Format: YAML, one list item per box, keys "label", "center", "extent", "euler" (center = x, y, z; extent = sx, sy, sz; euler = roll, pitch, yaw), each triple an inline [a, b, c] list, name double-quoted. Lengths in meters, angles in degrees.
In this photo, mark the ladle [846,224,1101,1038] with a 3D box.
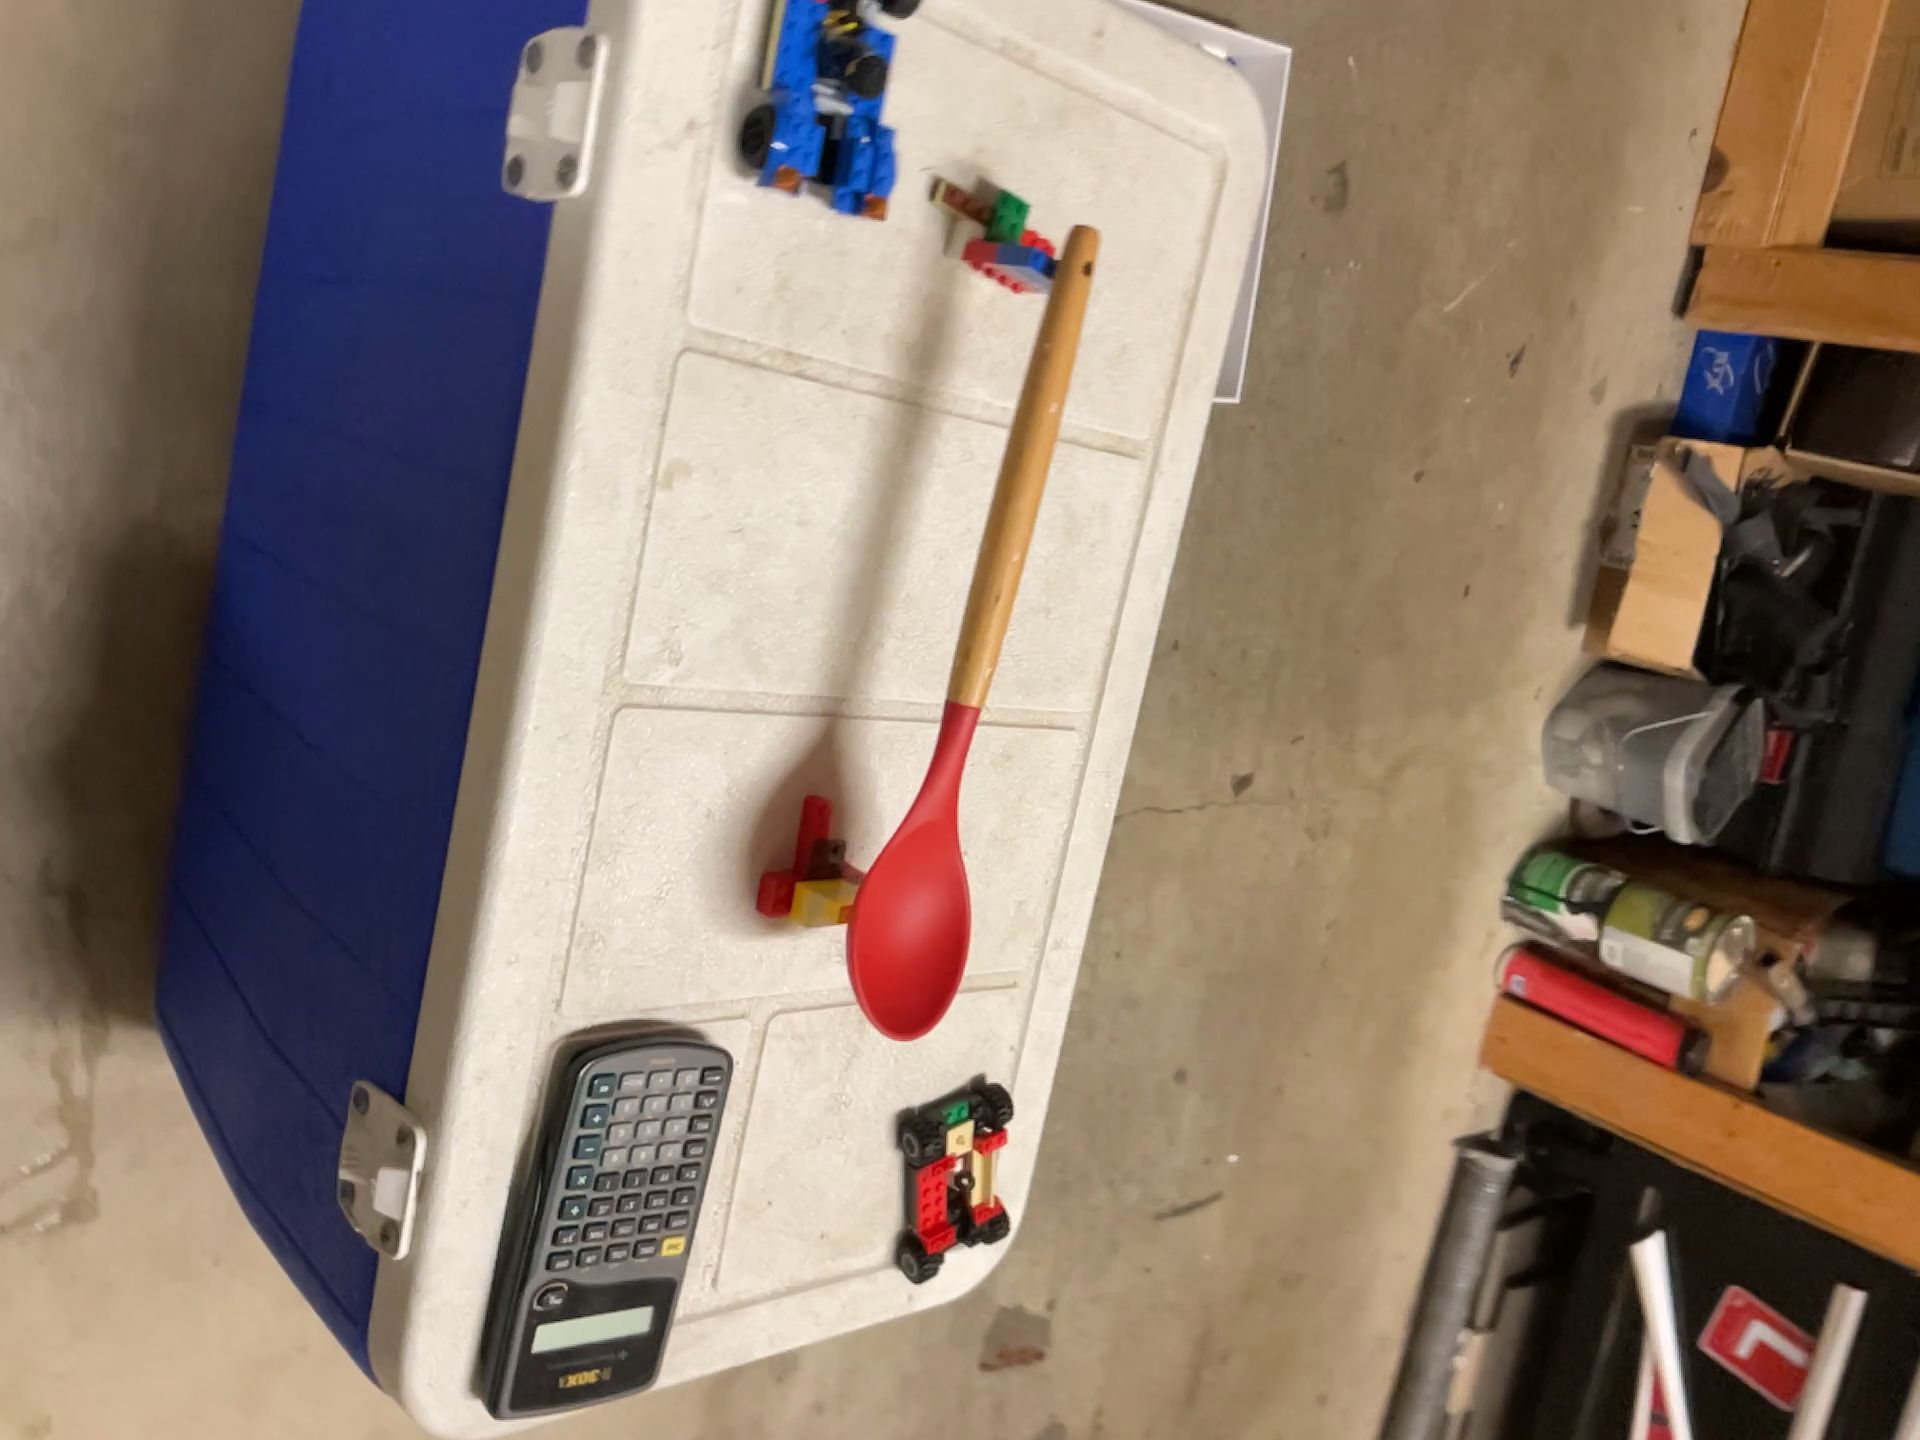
- label: "ladle"
  center: [0.008, -0.032, 0.612]
  extent: [0.069, 0.031, 0.315]
  euler: [7, 100, -50]
